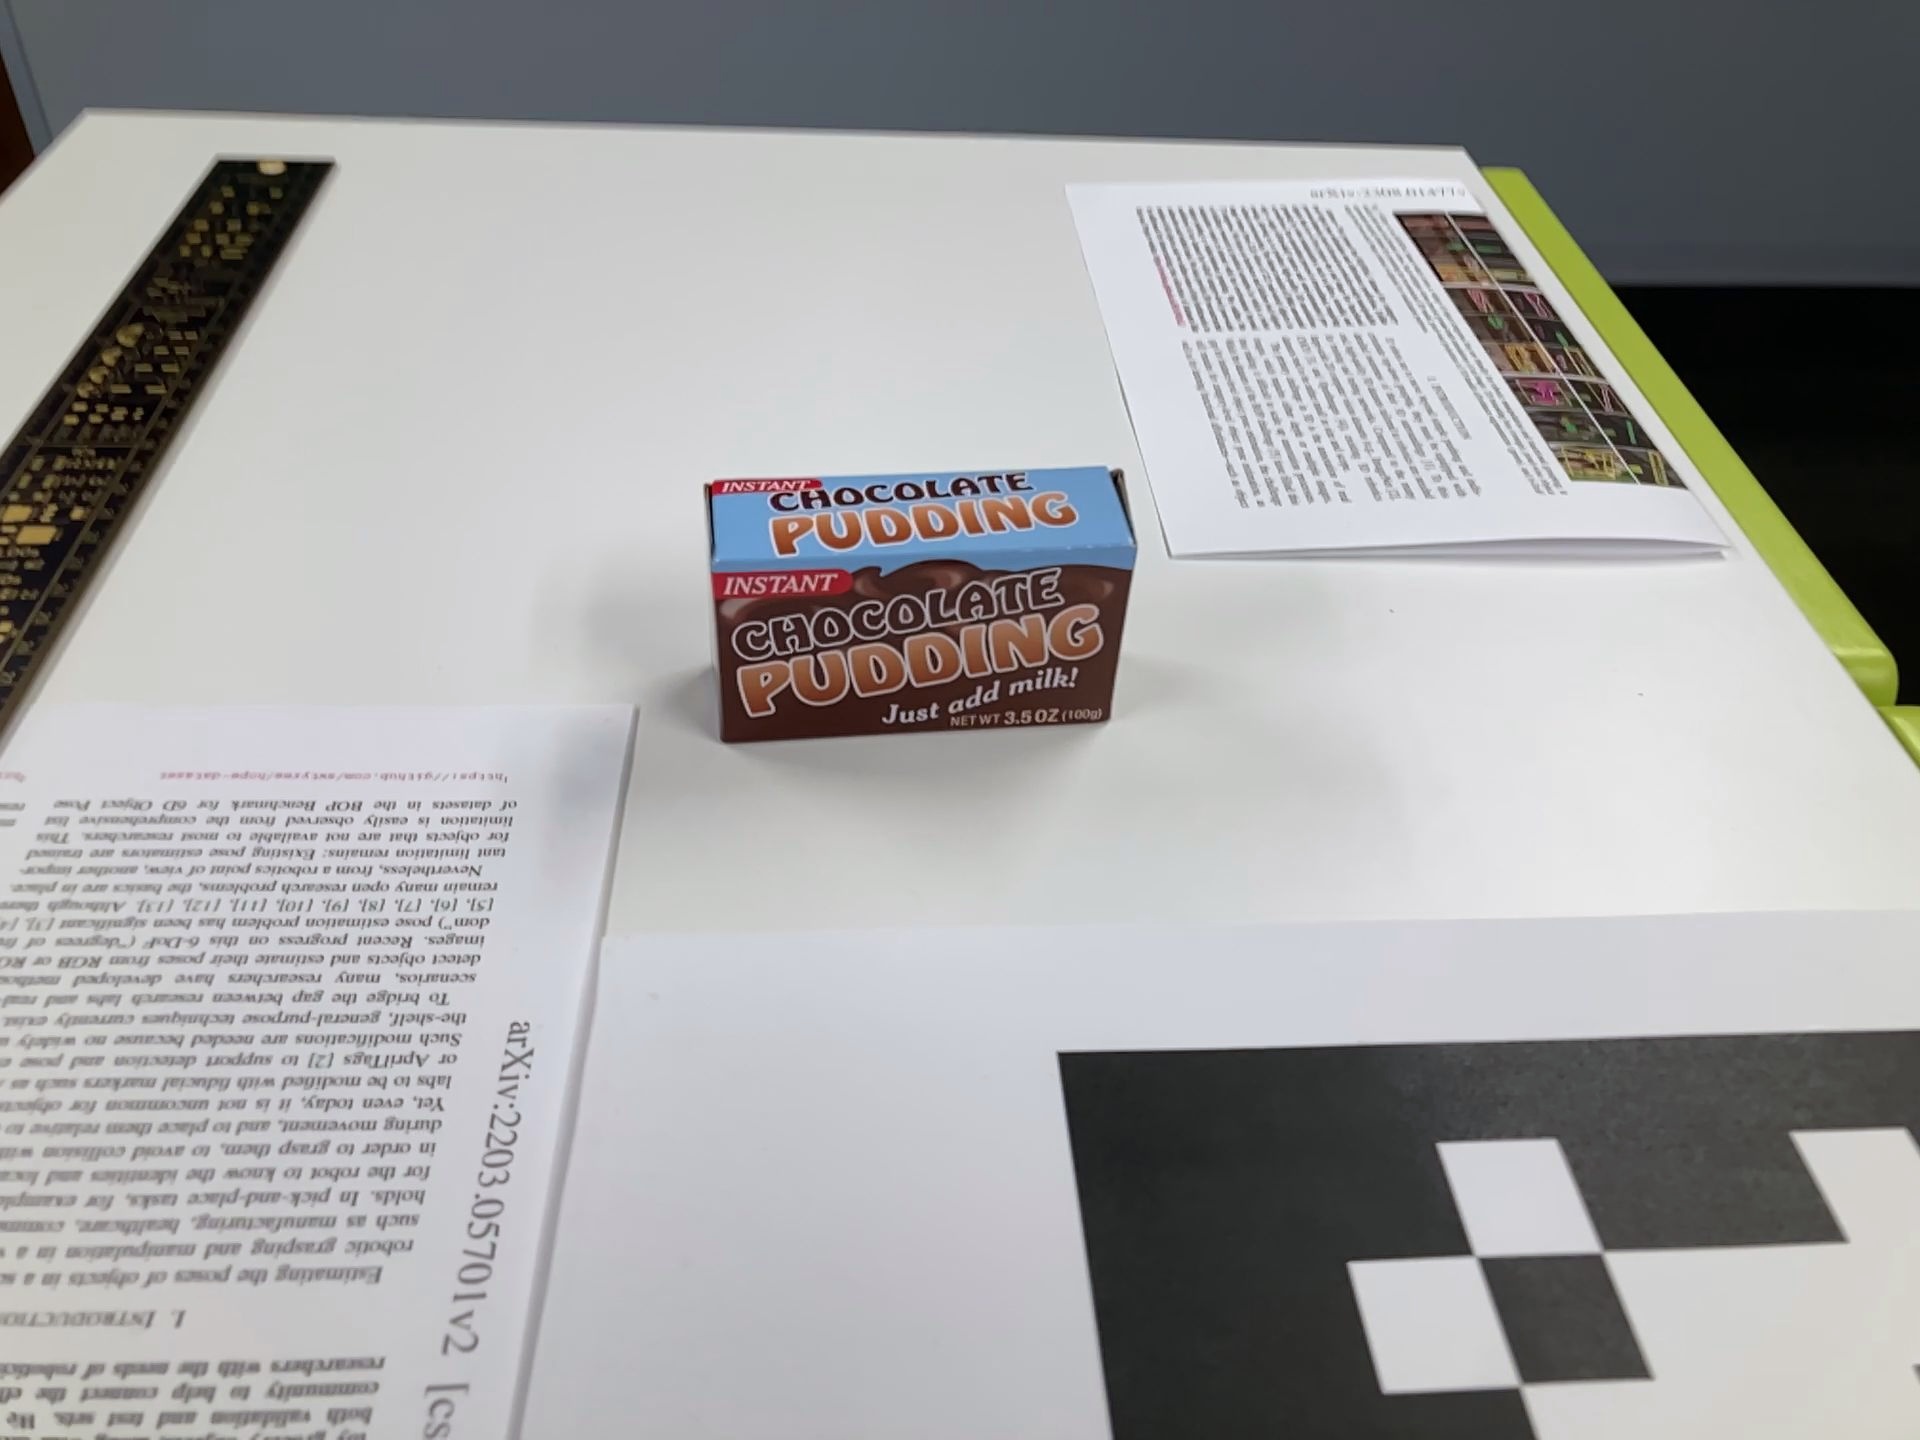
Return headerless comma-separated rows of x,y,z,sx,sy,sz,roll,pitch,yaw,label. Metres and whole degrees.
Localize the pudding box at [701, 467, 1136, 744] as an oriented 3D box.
-0.009,-0.024,0.323,0.083,0.049,0.030,-3,43,-8,pudding box
